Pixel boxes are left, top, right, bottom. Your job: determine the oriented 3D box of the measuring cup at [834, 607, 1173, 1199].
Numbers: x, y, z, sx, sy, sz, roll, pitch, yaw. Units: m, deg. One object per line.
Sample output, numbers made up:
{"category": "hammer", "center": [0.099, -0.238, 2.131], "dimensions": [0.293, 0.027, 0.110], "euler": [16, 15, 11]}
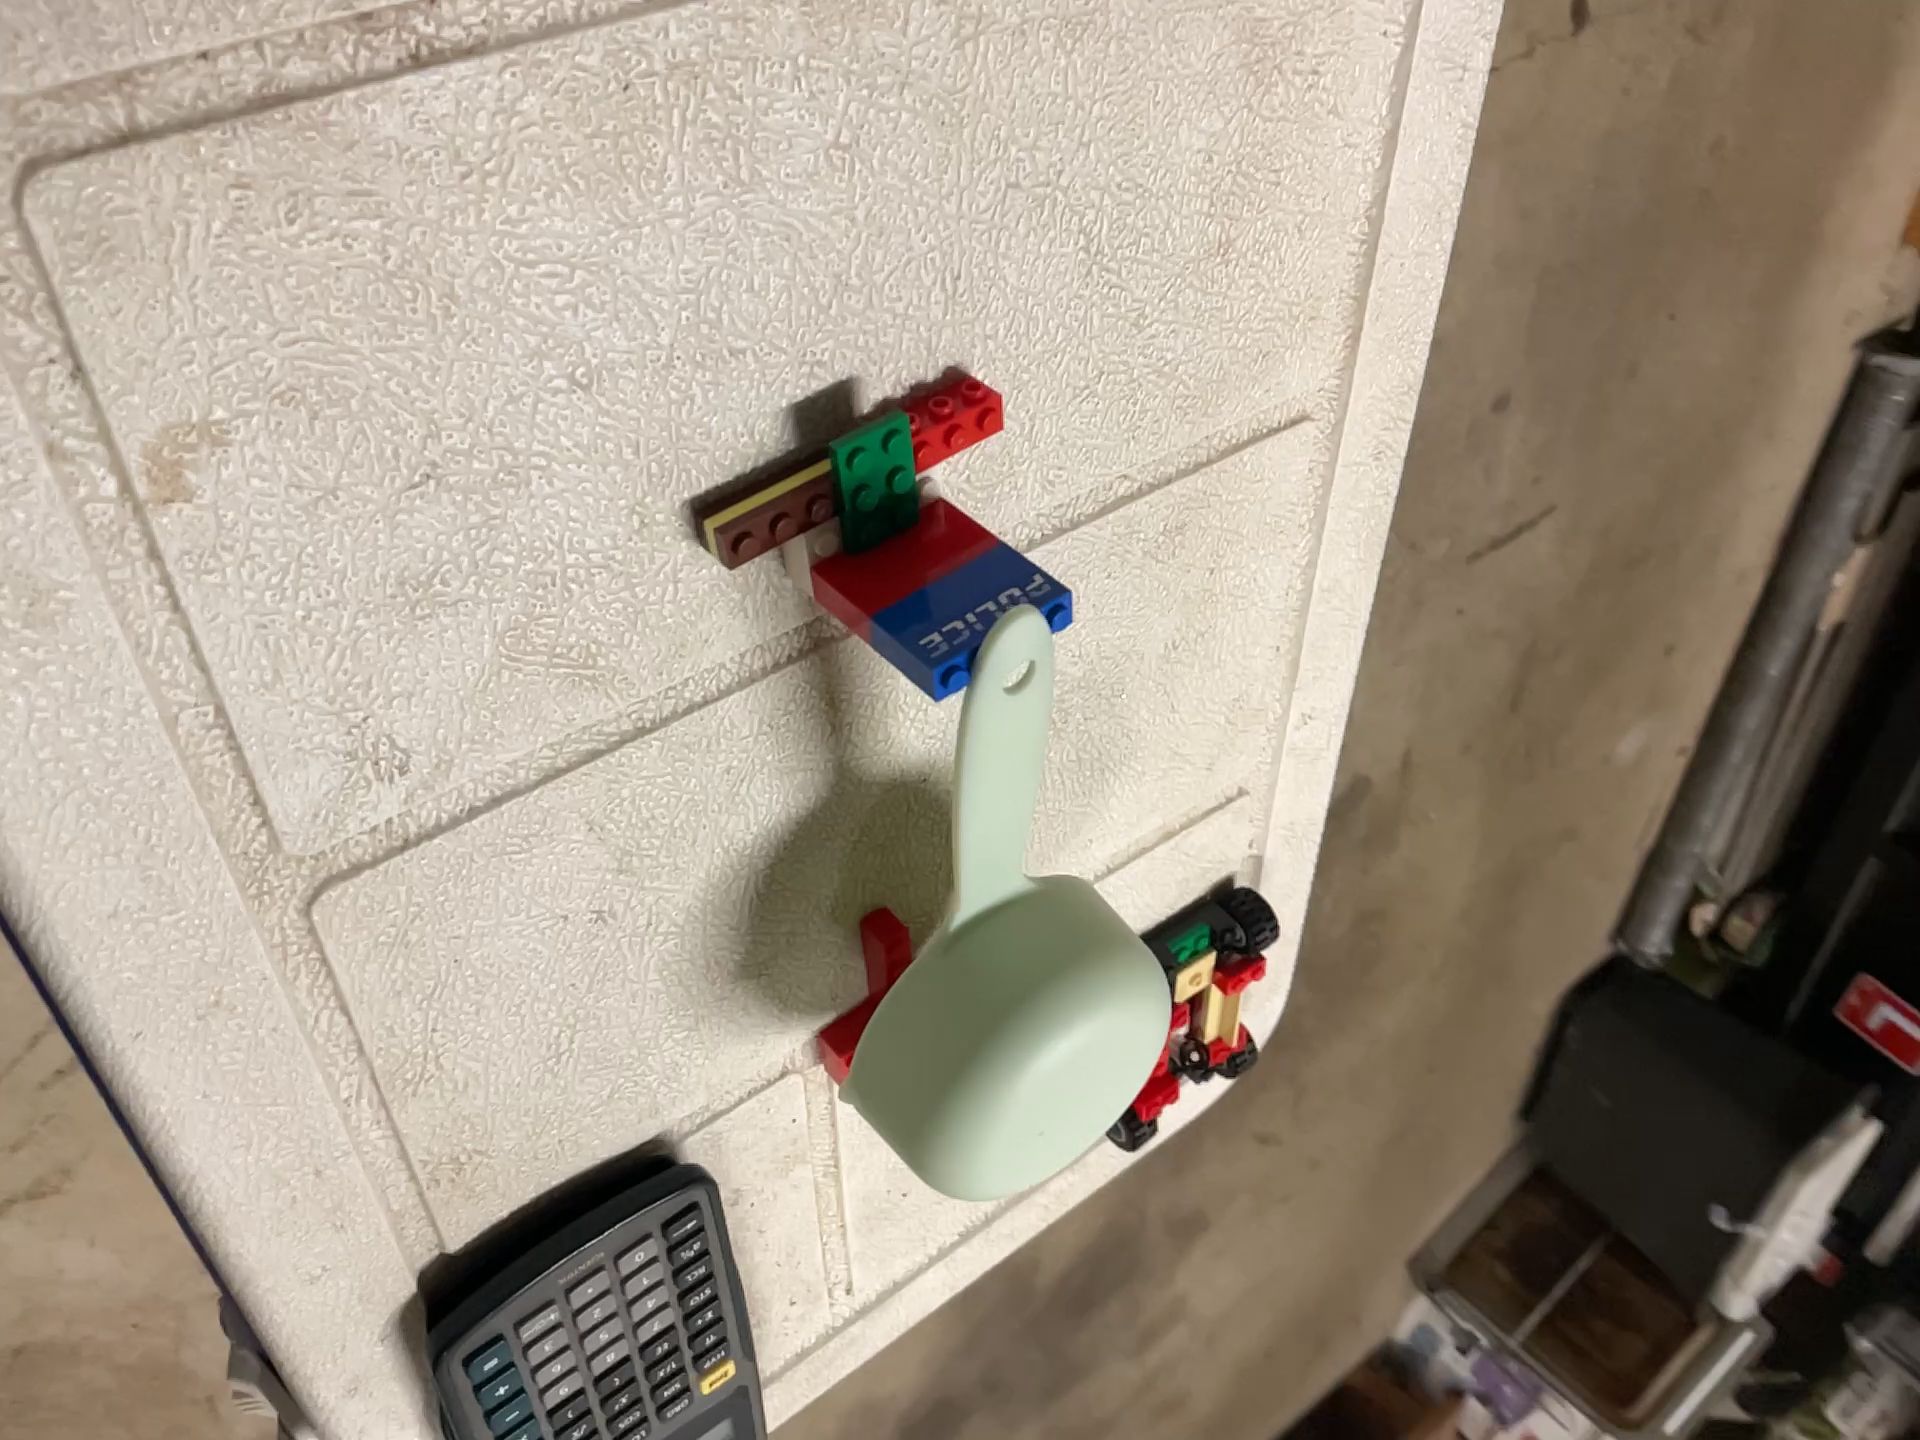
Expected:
{"category": "measuring cup", "center": [0.017, 0.046, 0.337], "dimensions": [0.083, 0.038, 0.167], "euler": [-29, 146, -26]}
